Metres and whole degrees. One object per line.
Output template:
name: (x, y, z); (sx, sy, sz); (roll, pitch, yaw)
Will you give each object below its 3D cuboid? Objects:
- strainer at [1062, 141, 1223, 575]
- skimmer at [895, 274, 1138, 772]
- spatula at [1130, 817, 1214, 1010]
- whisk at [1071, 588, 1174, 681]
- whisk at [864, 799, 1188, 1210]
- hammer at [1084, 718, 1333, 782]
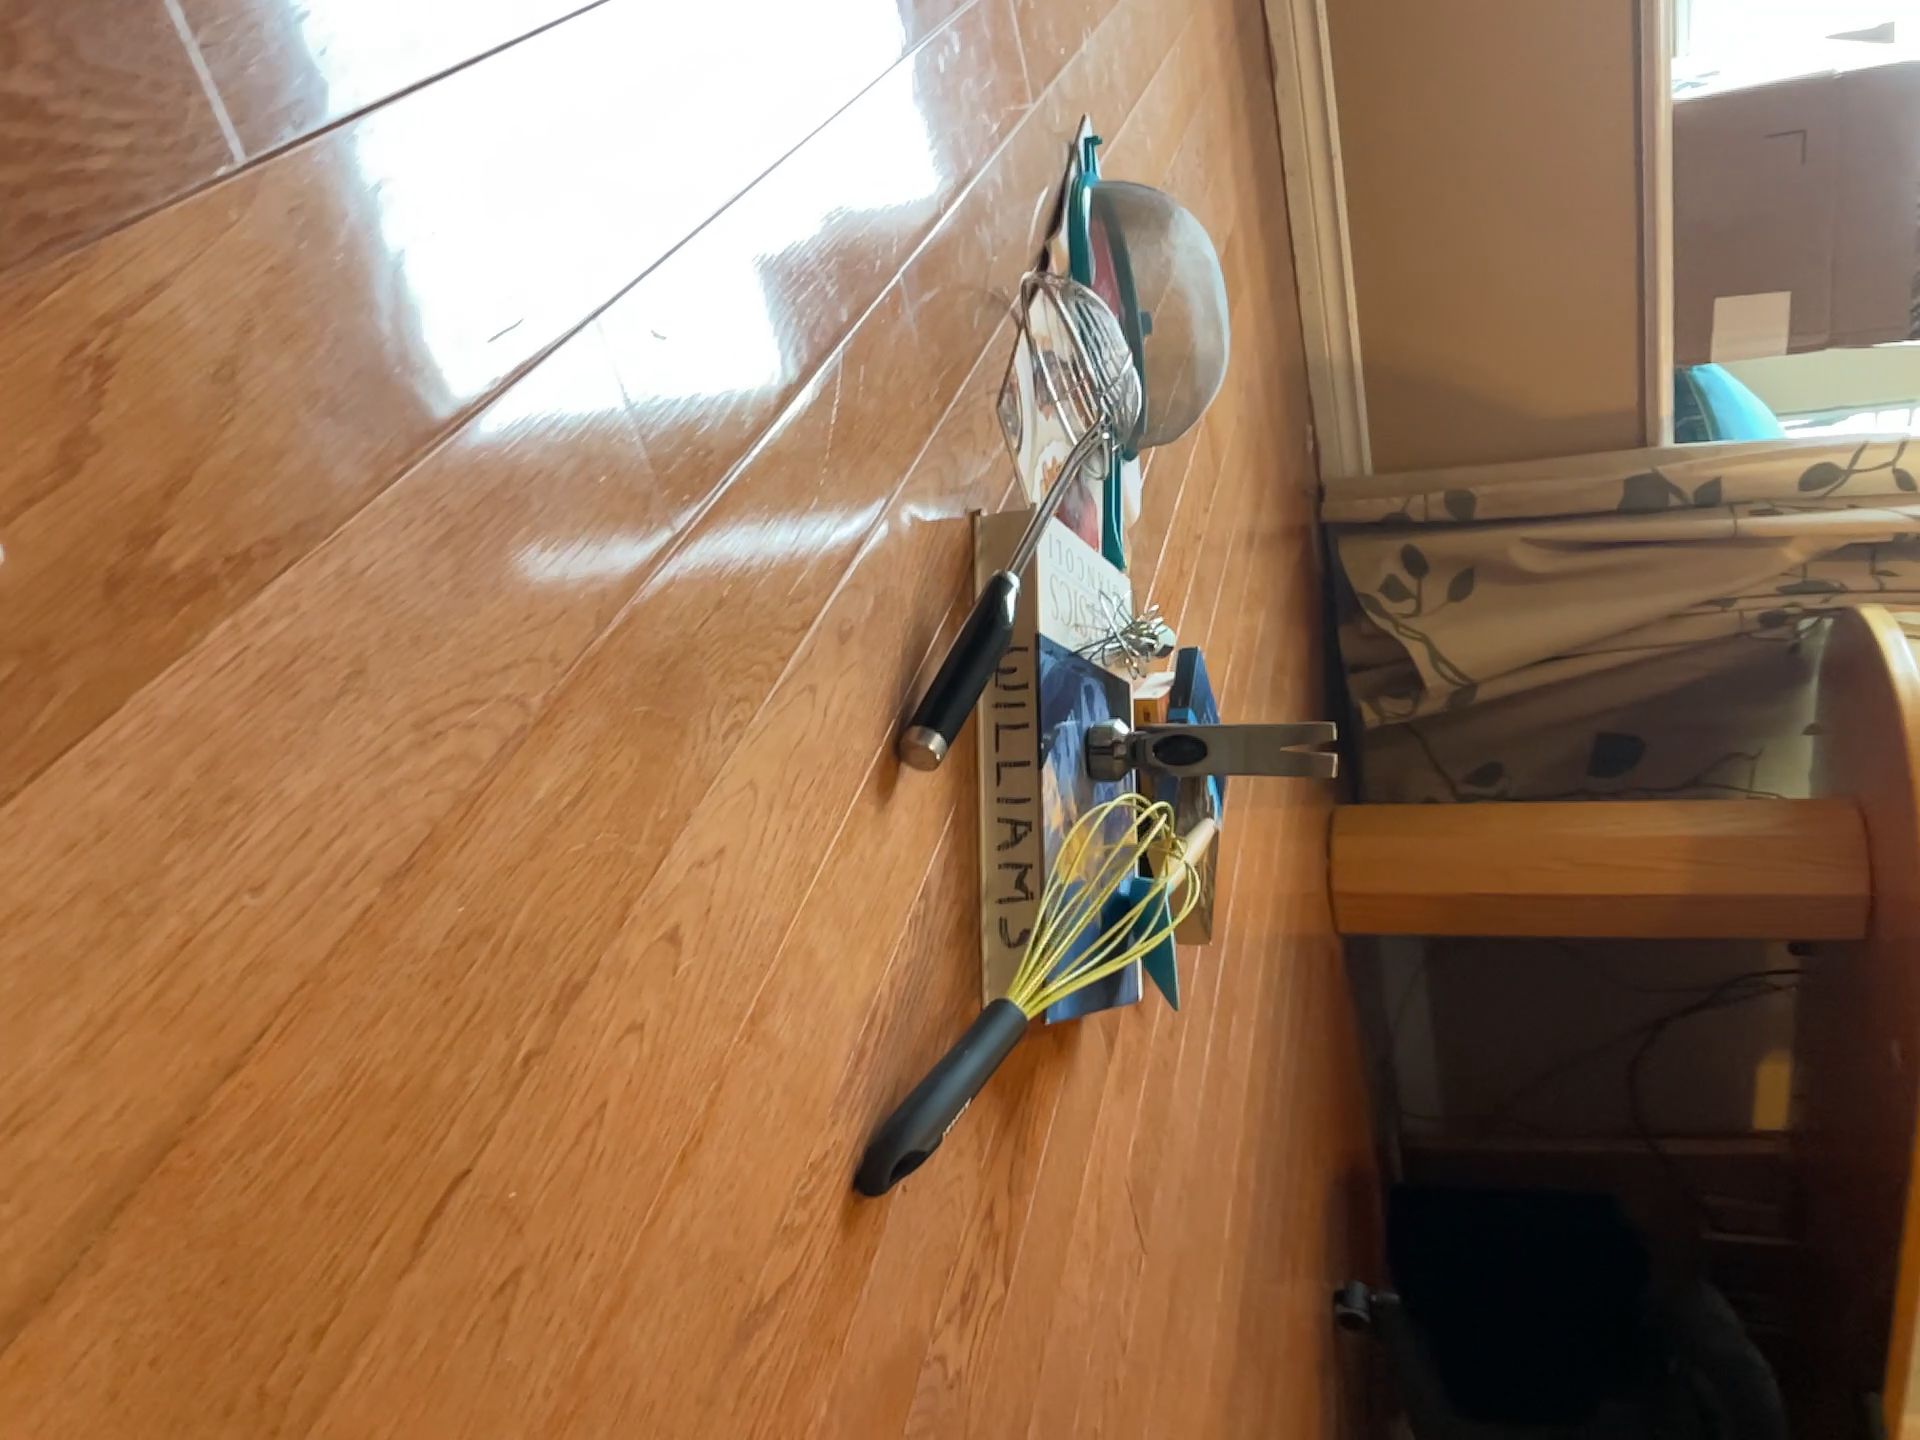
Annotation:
strainer: (0.142, -0.245, 1.131); (0.211, 0.095, 0.341); (62, 23, -52)
skimmer: (0.018, -0.112, 0.870); (0.127, 0.090, 0.364); (72, 34, -42)
spatula: (0.152, 0.107, 1.083); (0.318, 0.044, 0.082); (-29, 112, -70)
whisk: (0.111, -0.051, 1.004); (0.059, 0.057, 0.246); (56, 12, 7)
whisk: (0.037, 0.130, 0.780); (0.312, 0.067, 0.080); (-43, 144, -48)
hammer: (0.193, 0.020, 1.100); (0.386, 0.143, 0.038); (2, 88, -74)
